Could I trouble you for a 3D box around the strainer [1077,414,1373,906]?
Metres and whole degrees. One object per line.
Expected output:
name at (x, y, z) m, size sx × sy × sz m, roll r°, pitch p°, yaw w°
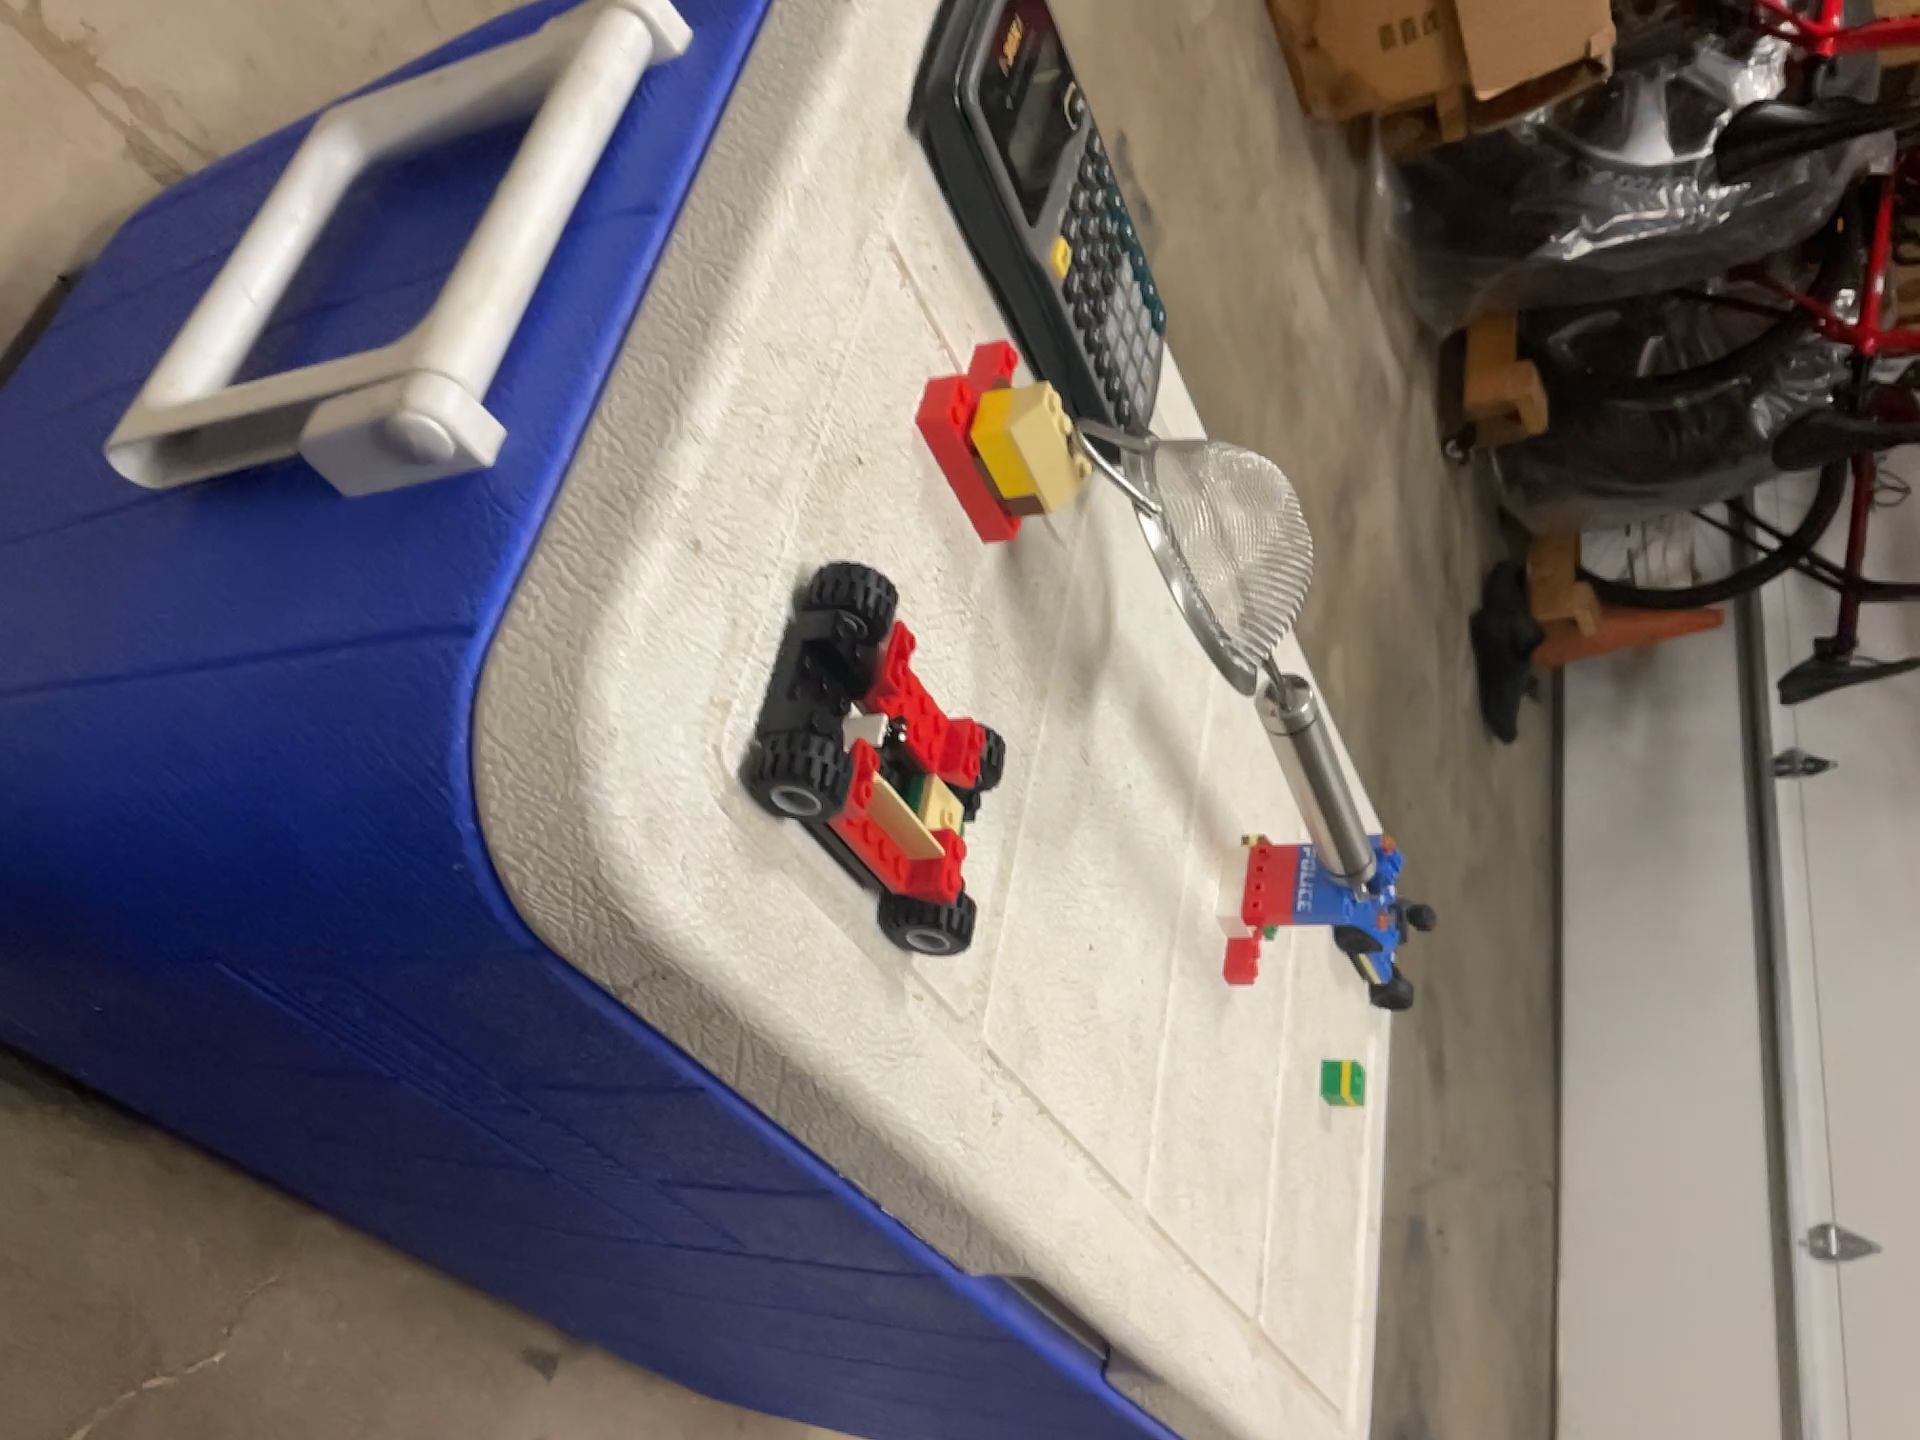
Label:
strainer at (0.102, -0.010, 0.509) m, size 0.258 × 0.050 × 0.087 m, roll 57°, pitch 22°, yaw -46°
